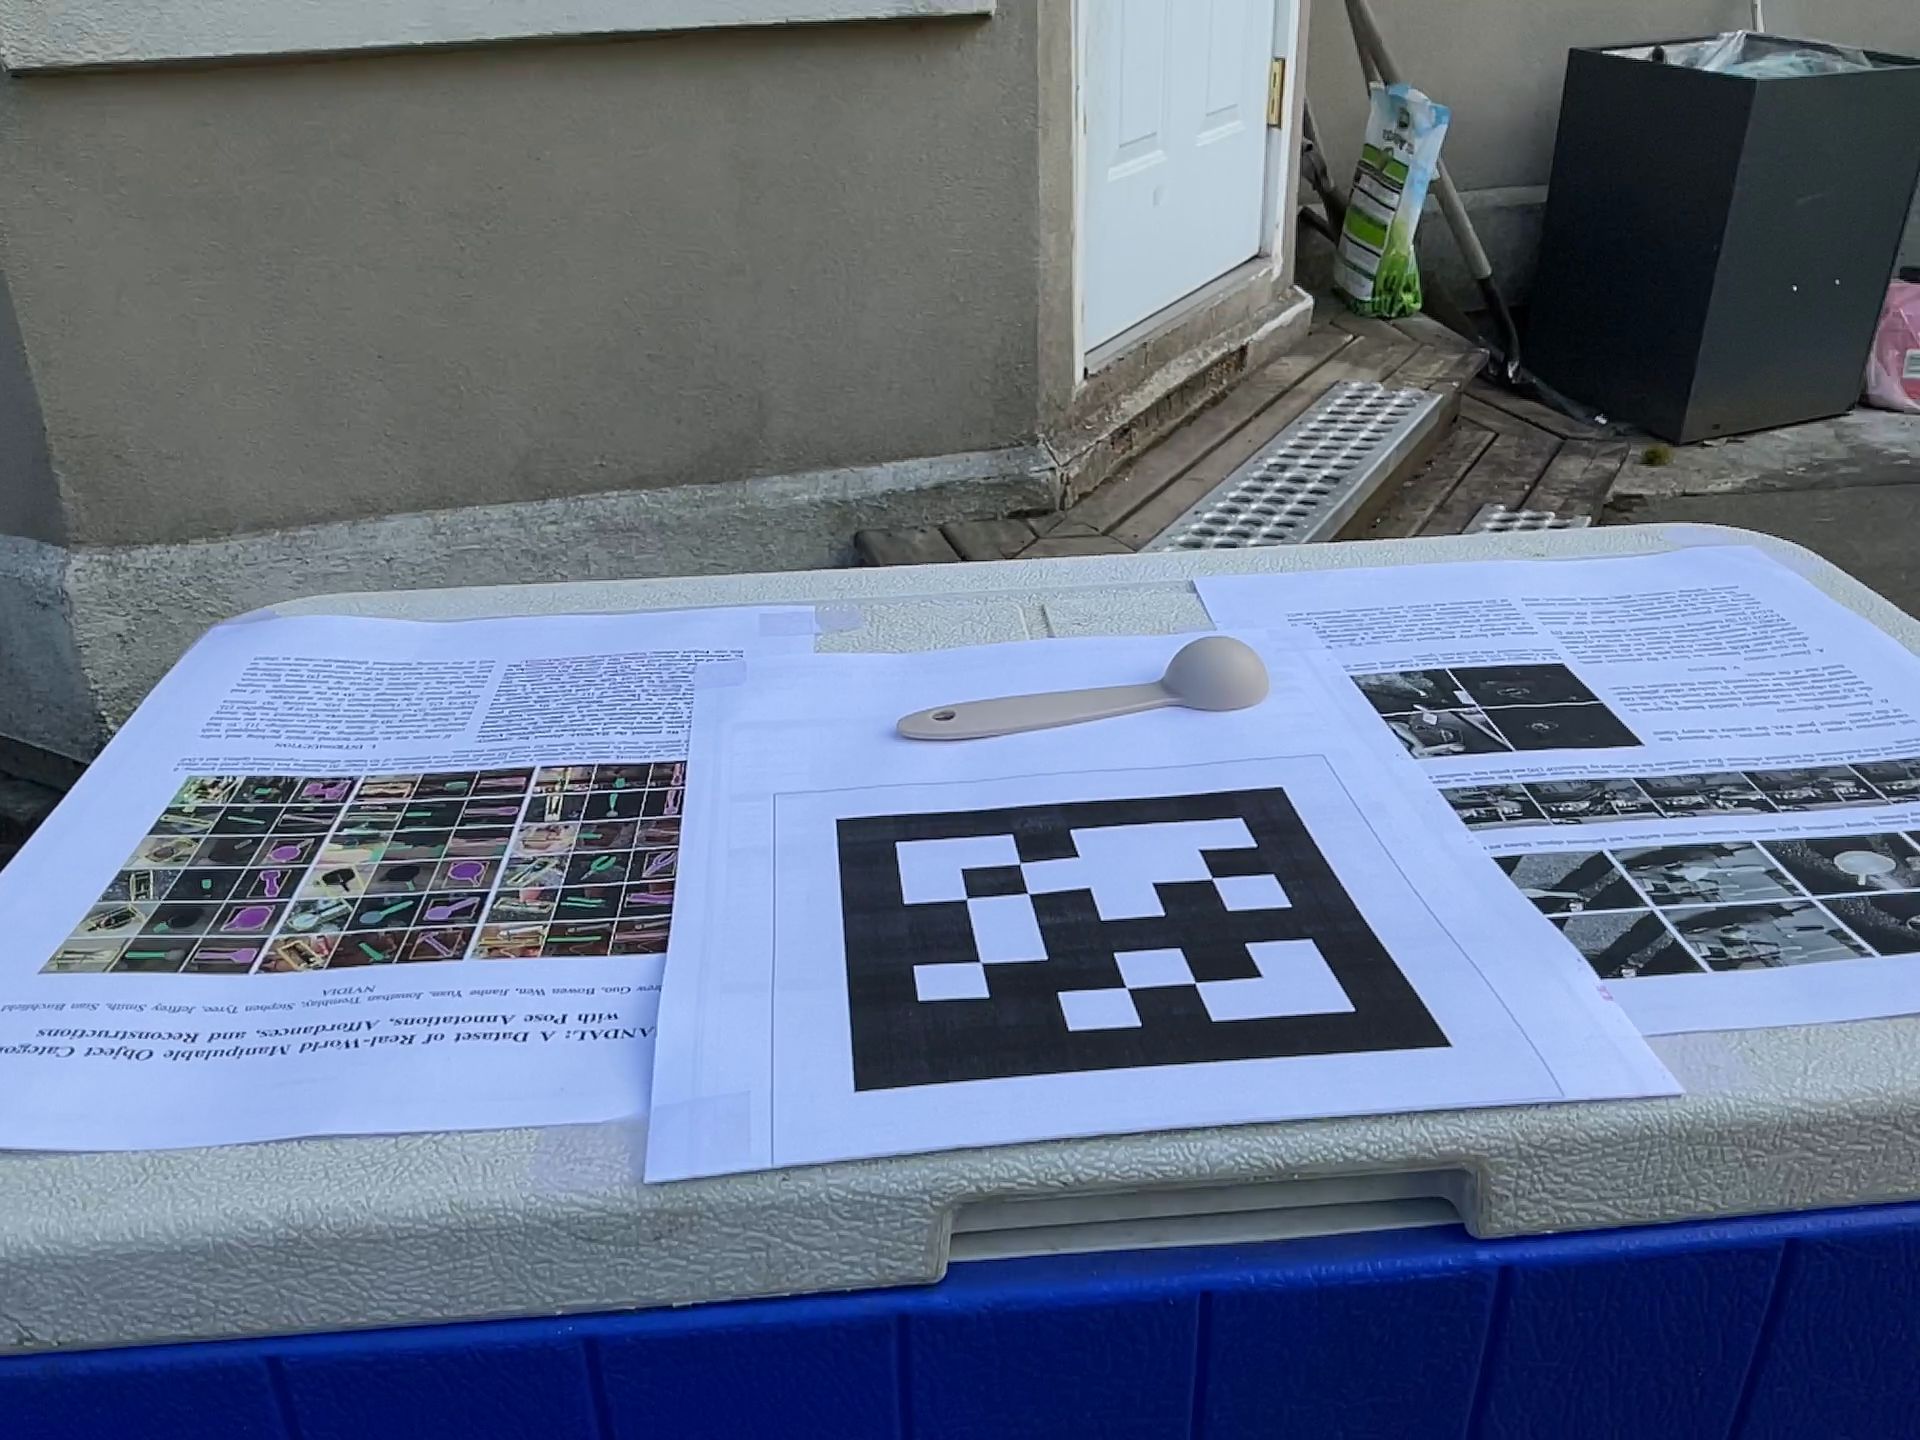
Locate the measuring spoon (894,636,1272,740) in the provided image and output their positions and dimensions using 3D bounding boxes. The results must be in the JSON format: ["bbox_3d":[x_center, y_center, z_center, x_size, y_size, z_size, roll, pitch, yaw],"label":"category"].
[{"bbox_3d":[0.039,-0.011,0.501,0.124,0.018,0.034,-8,28,-13],"label":"measuring spoon"}]
